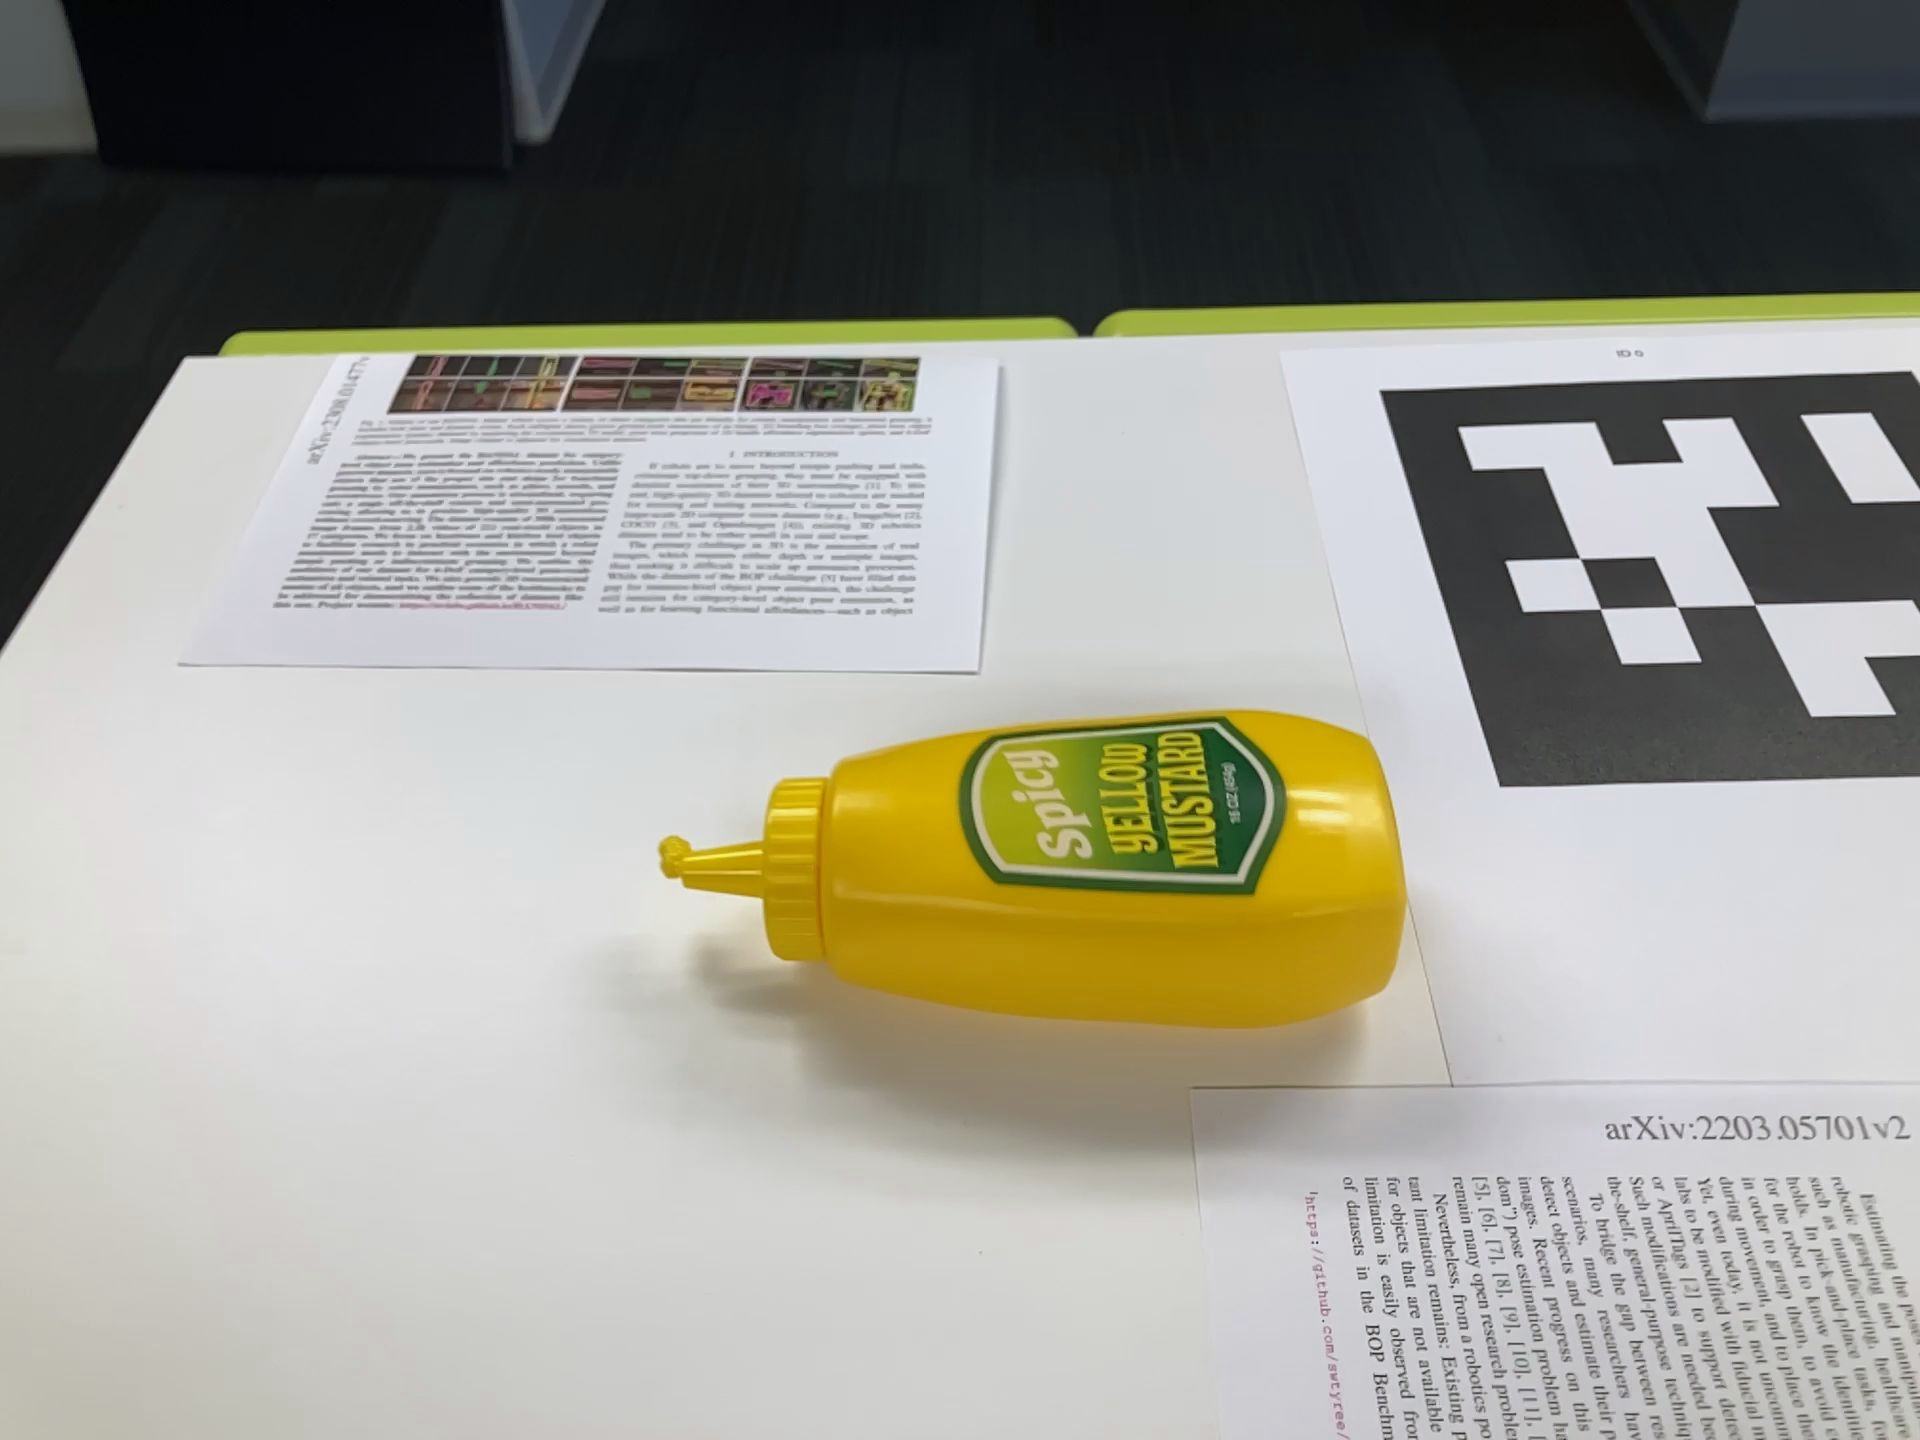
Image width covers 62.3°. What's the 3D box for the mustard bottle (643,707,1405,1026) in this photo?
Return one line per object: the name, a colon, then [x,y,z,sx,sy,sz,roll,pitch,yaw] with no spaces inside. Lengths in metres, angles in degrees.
mustard bottle: [0.010,0.032,0.341,0.160,0.049,0.065,-2,46,2]
